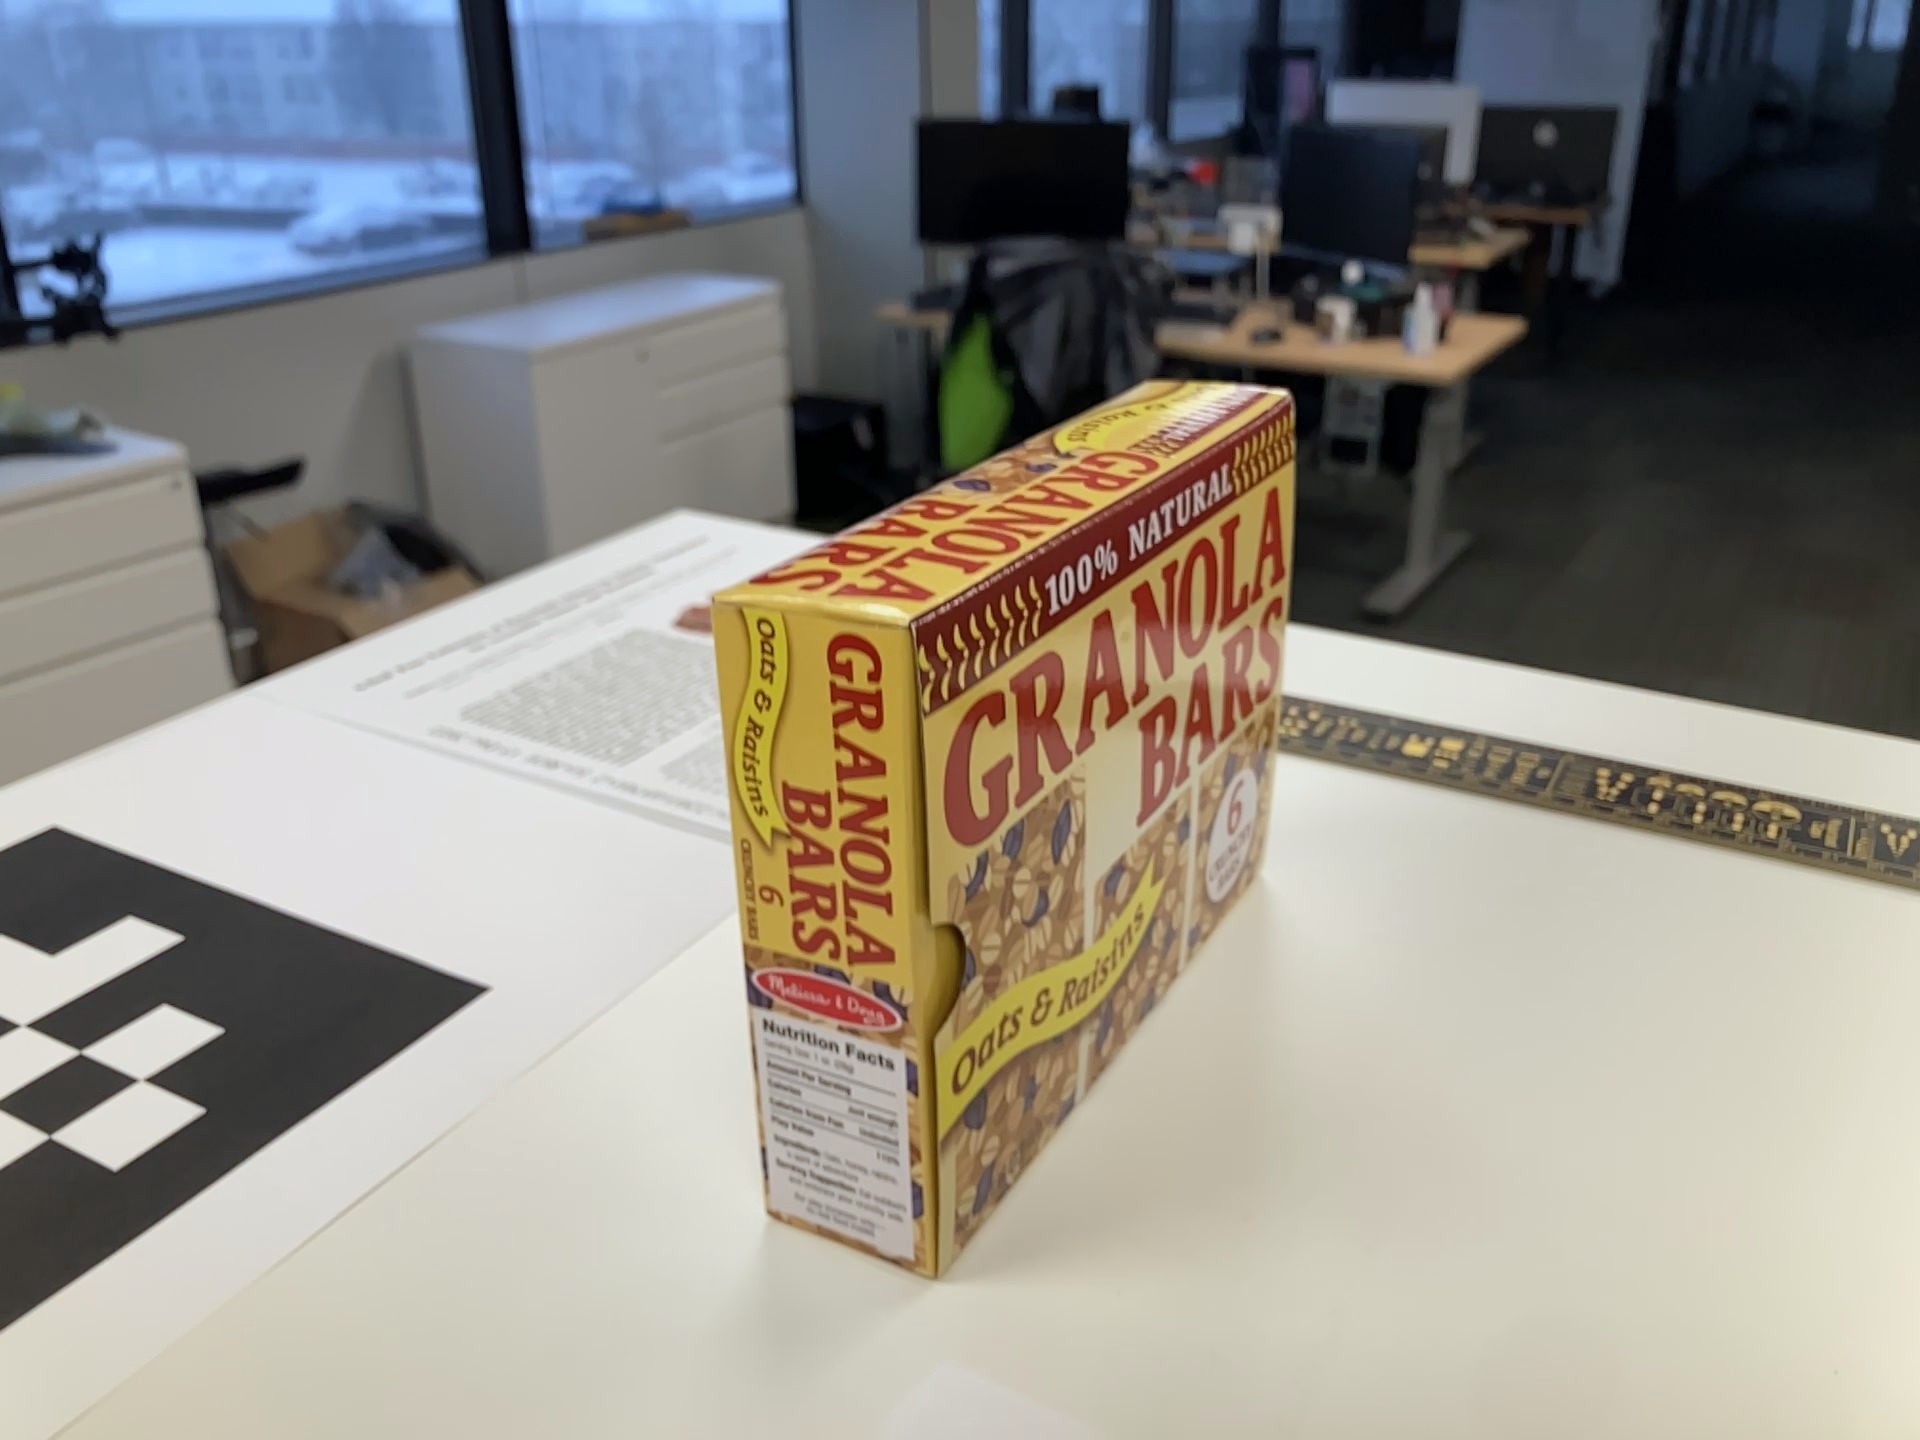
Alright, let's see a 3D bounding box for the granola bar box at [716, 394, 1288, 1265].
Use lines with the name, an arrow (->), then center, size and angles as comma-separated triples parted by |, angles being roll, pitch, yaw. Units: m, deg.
granola bar box -> 0.021, 0.010, 0.331 | 0.039, 0.124, 0.165 | 11, 26, 28
